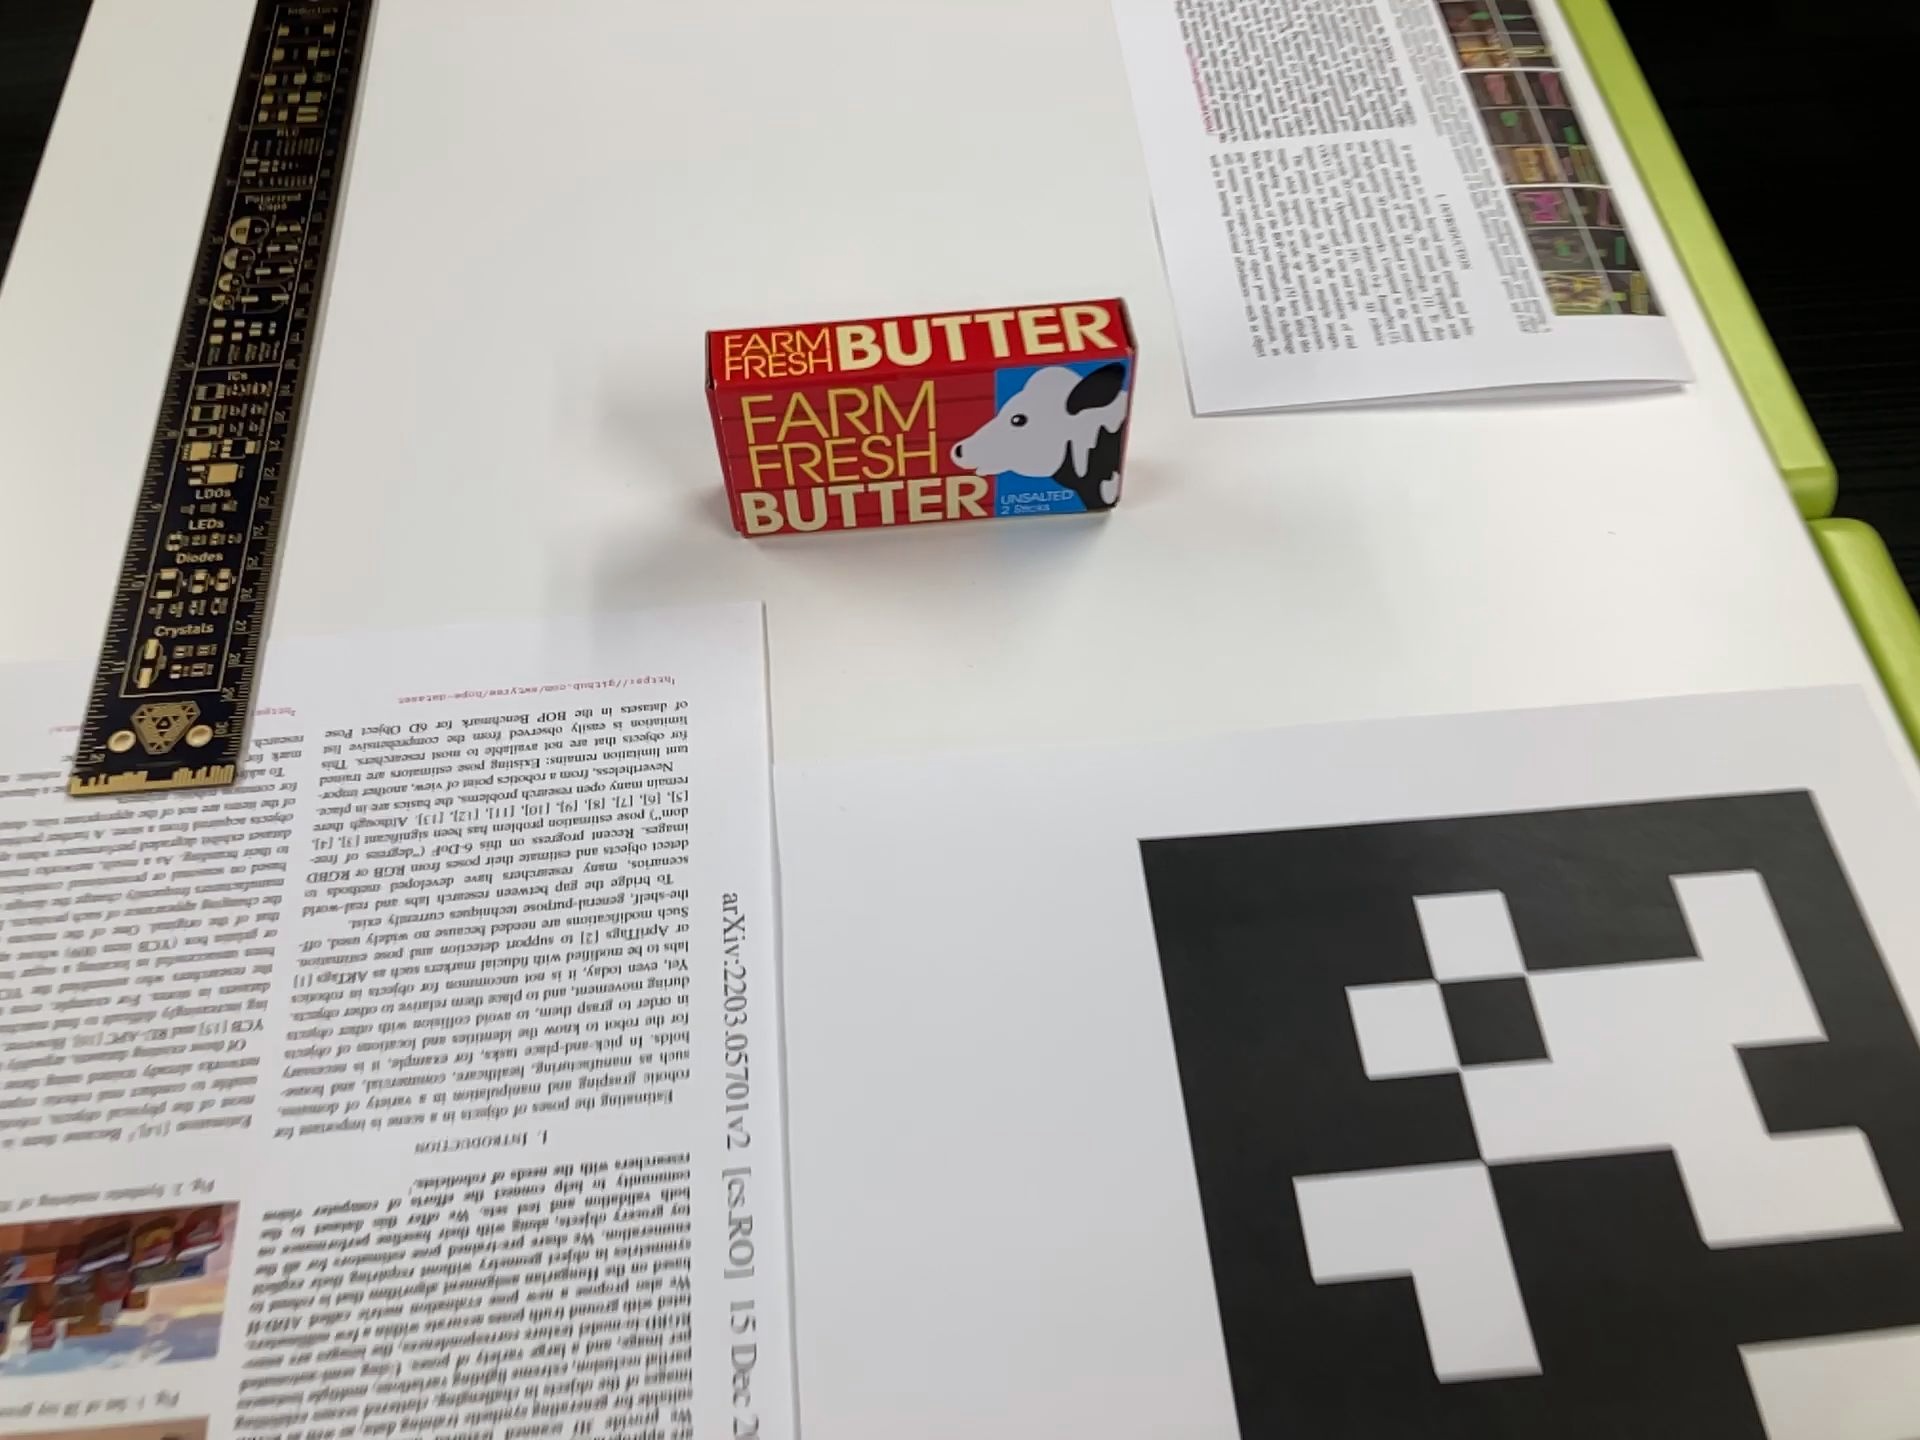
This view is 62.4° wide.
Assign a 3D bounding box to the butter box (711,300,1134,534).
[{"bbox_3d":[-0.009,-0.077,0.408,0.103,0.053,0.024,-5,53,-3],"label":"butter box"}]
